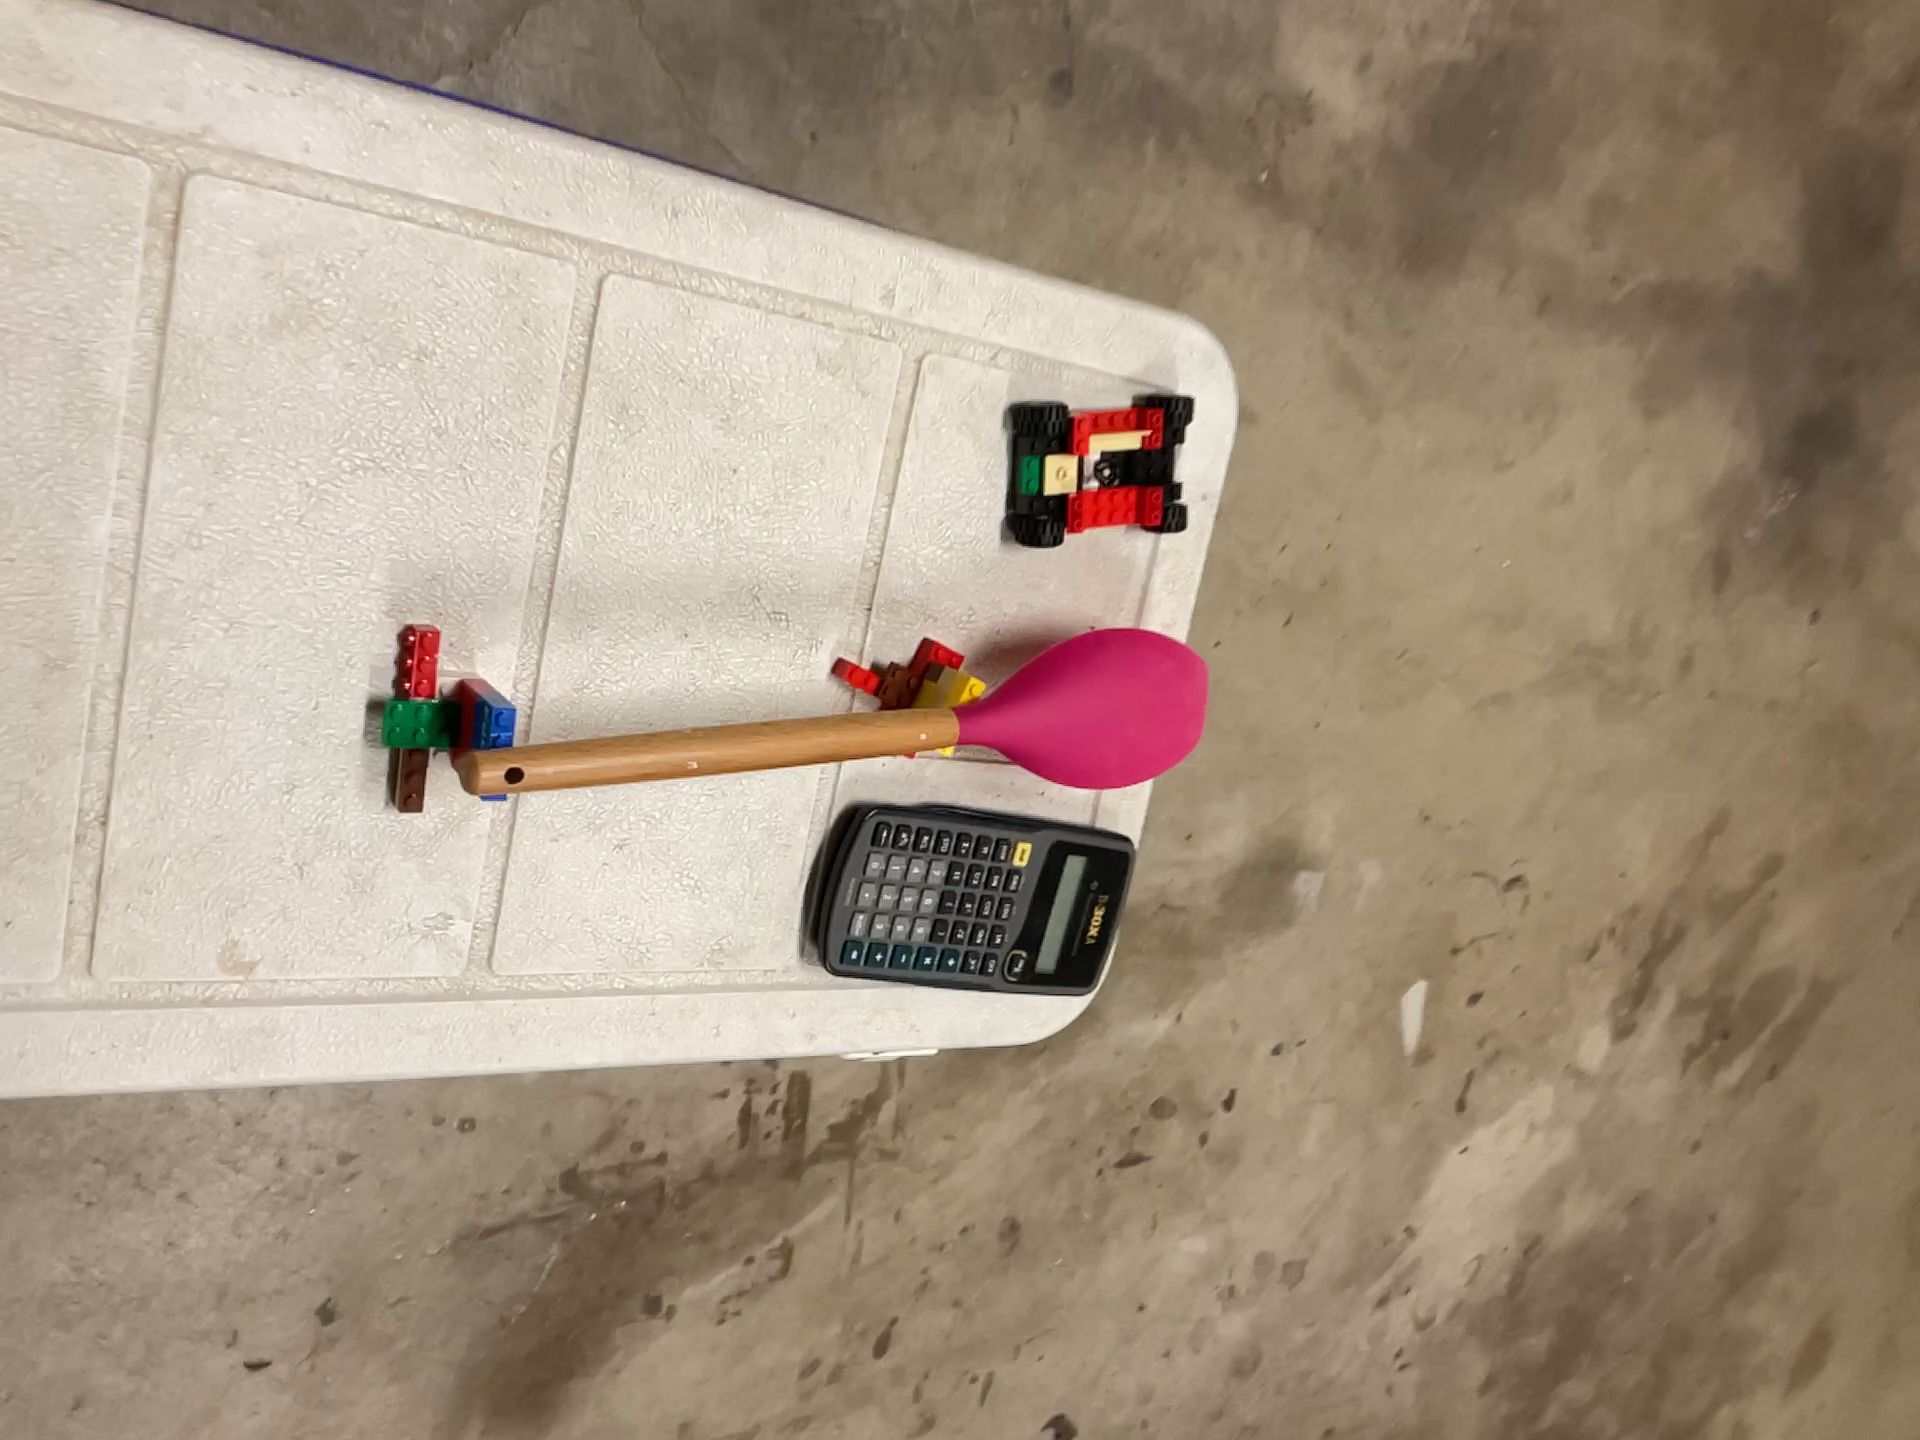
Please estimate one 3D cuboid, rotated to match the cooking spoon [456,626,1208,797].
[{"bbox_3d":[-0.026,0.005,0.595,0.319,0.017,0.068,-5,103,-33],"label":"cooking spoon"}]
